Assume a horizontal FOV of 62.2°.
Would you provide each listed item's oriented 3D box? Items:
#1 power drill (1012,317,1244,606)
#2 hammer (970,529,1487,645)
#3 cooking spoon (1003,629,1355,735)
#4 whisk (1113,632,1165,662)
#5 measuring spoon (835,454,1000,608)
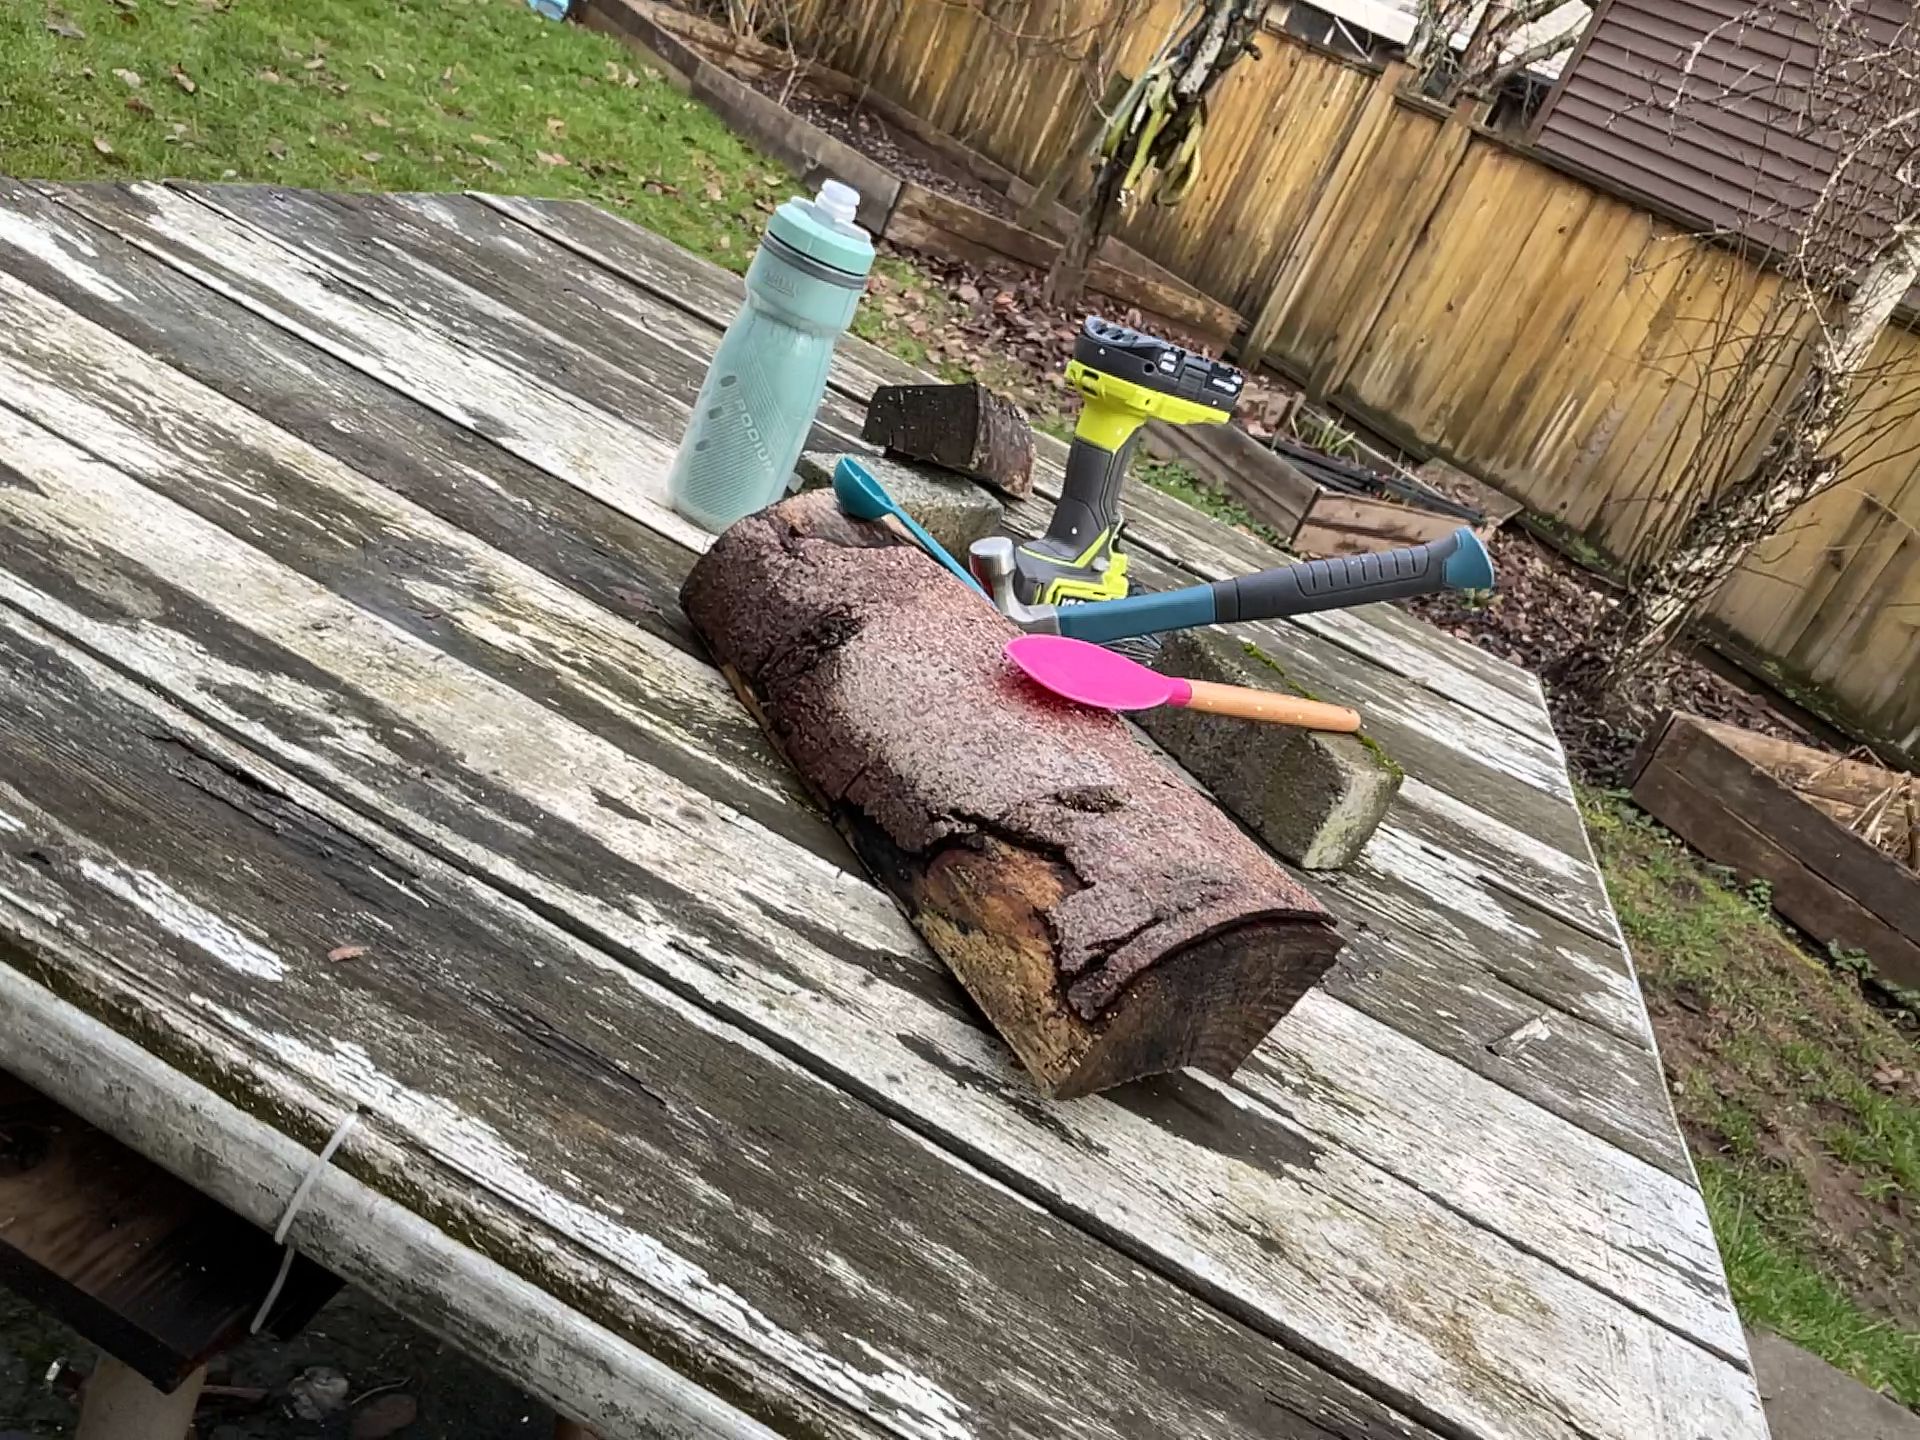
[{"bbox_3d":[0.115,-0.166,1.167,0.171,0.223,0.080,4,23,-46],"label":"power drill"},{"bbox_3d":[0.177,-0.078,1.033,0.331,0.128,0.033,-9,29,-1],"label":"hammer"},{"bbox_3d":[0.137,-0.013,0.891,0.318,0.017,0.069,8,26,-46],"label":"cooking spoon"},{"bbox_3d":[0.161,-0.046,1.167,0.238,0.055,0.055,5,38,-48],"label":"whisk"},{"bbox_3d":[-0.027,-0.103,0.923,0.128,0.021,0.042,43,16,-18],"label":"measuring spoon"}]
